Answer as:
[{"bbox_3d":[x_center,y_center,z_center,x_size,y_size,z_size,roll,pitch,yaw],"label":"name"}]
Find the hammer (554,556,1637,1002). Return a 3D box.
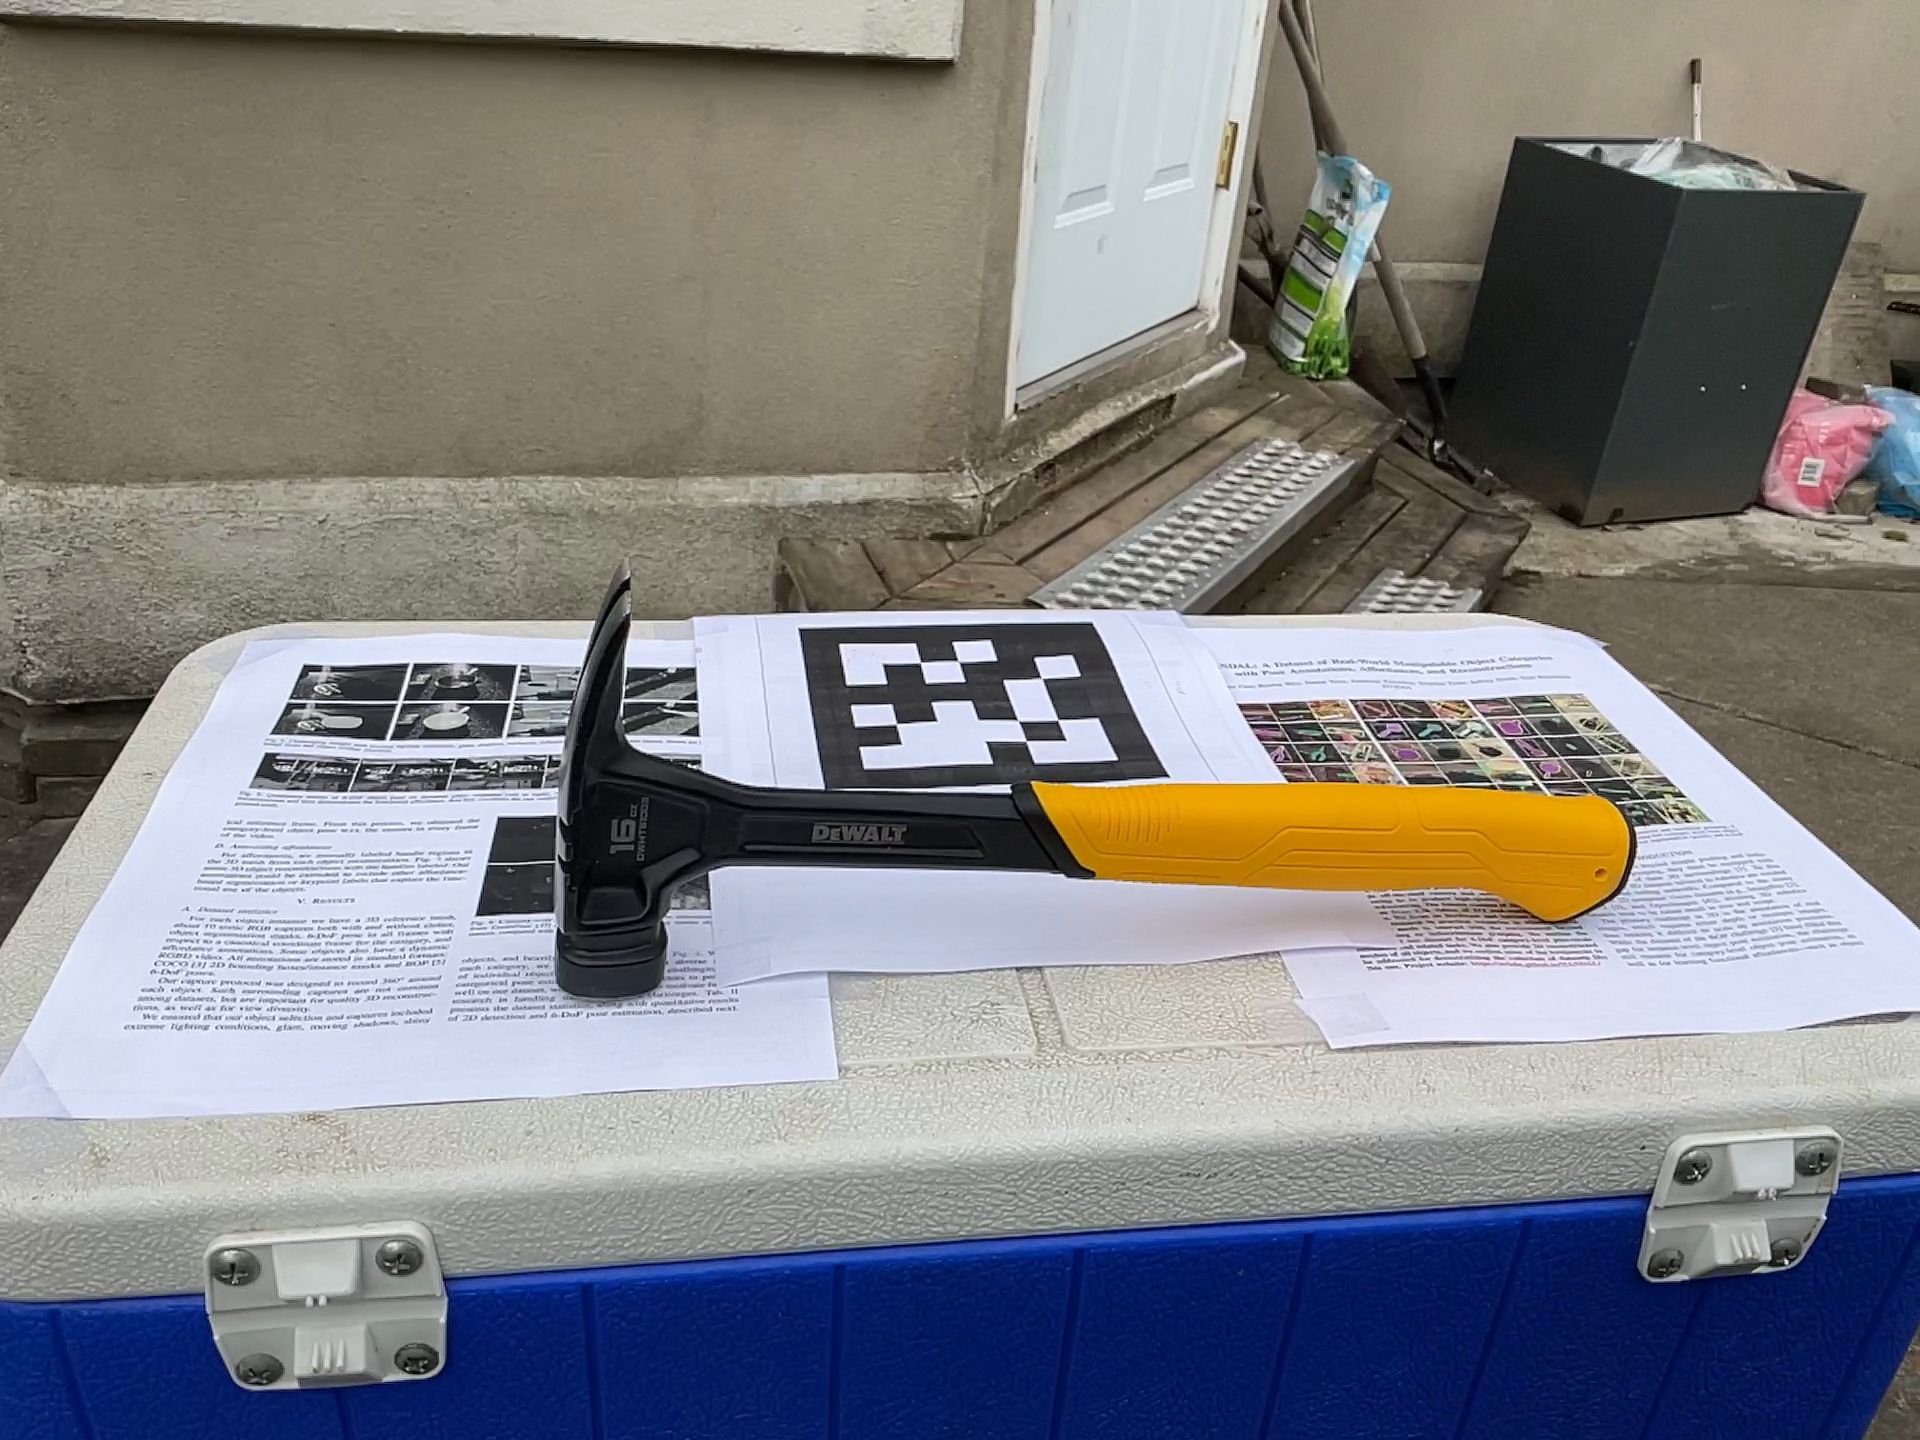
[{"bbox_3d":[0.053,0.028,0.480,0.336,0.127,0.034,3,27,-14],"label":"hammer"}]
